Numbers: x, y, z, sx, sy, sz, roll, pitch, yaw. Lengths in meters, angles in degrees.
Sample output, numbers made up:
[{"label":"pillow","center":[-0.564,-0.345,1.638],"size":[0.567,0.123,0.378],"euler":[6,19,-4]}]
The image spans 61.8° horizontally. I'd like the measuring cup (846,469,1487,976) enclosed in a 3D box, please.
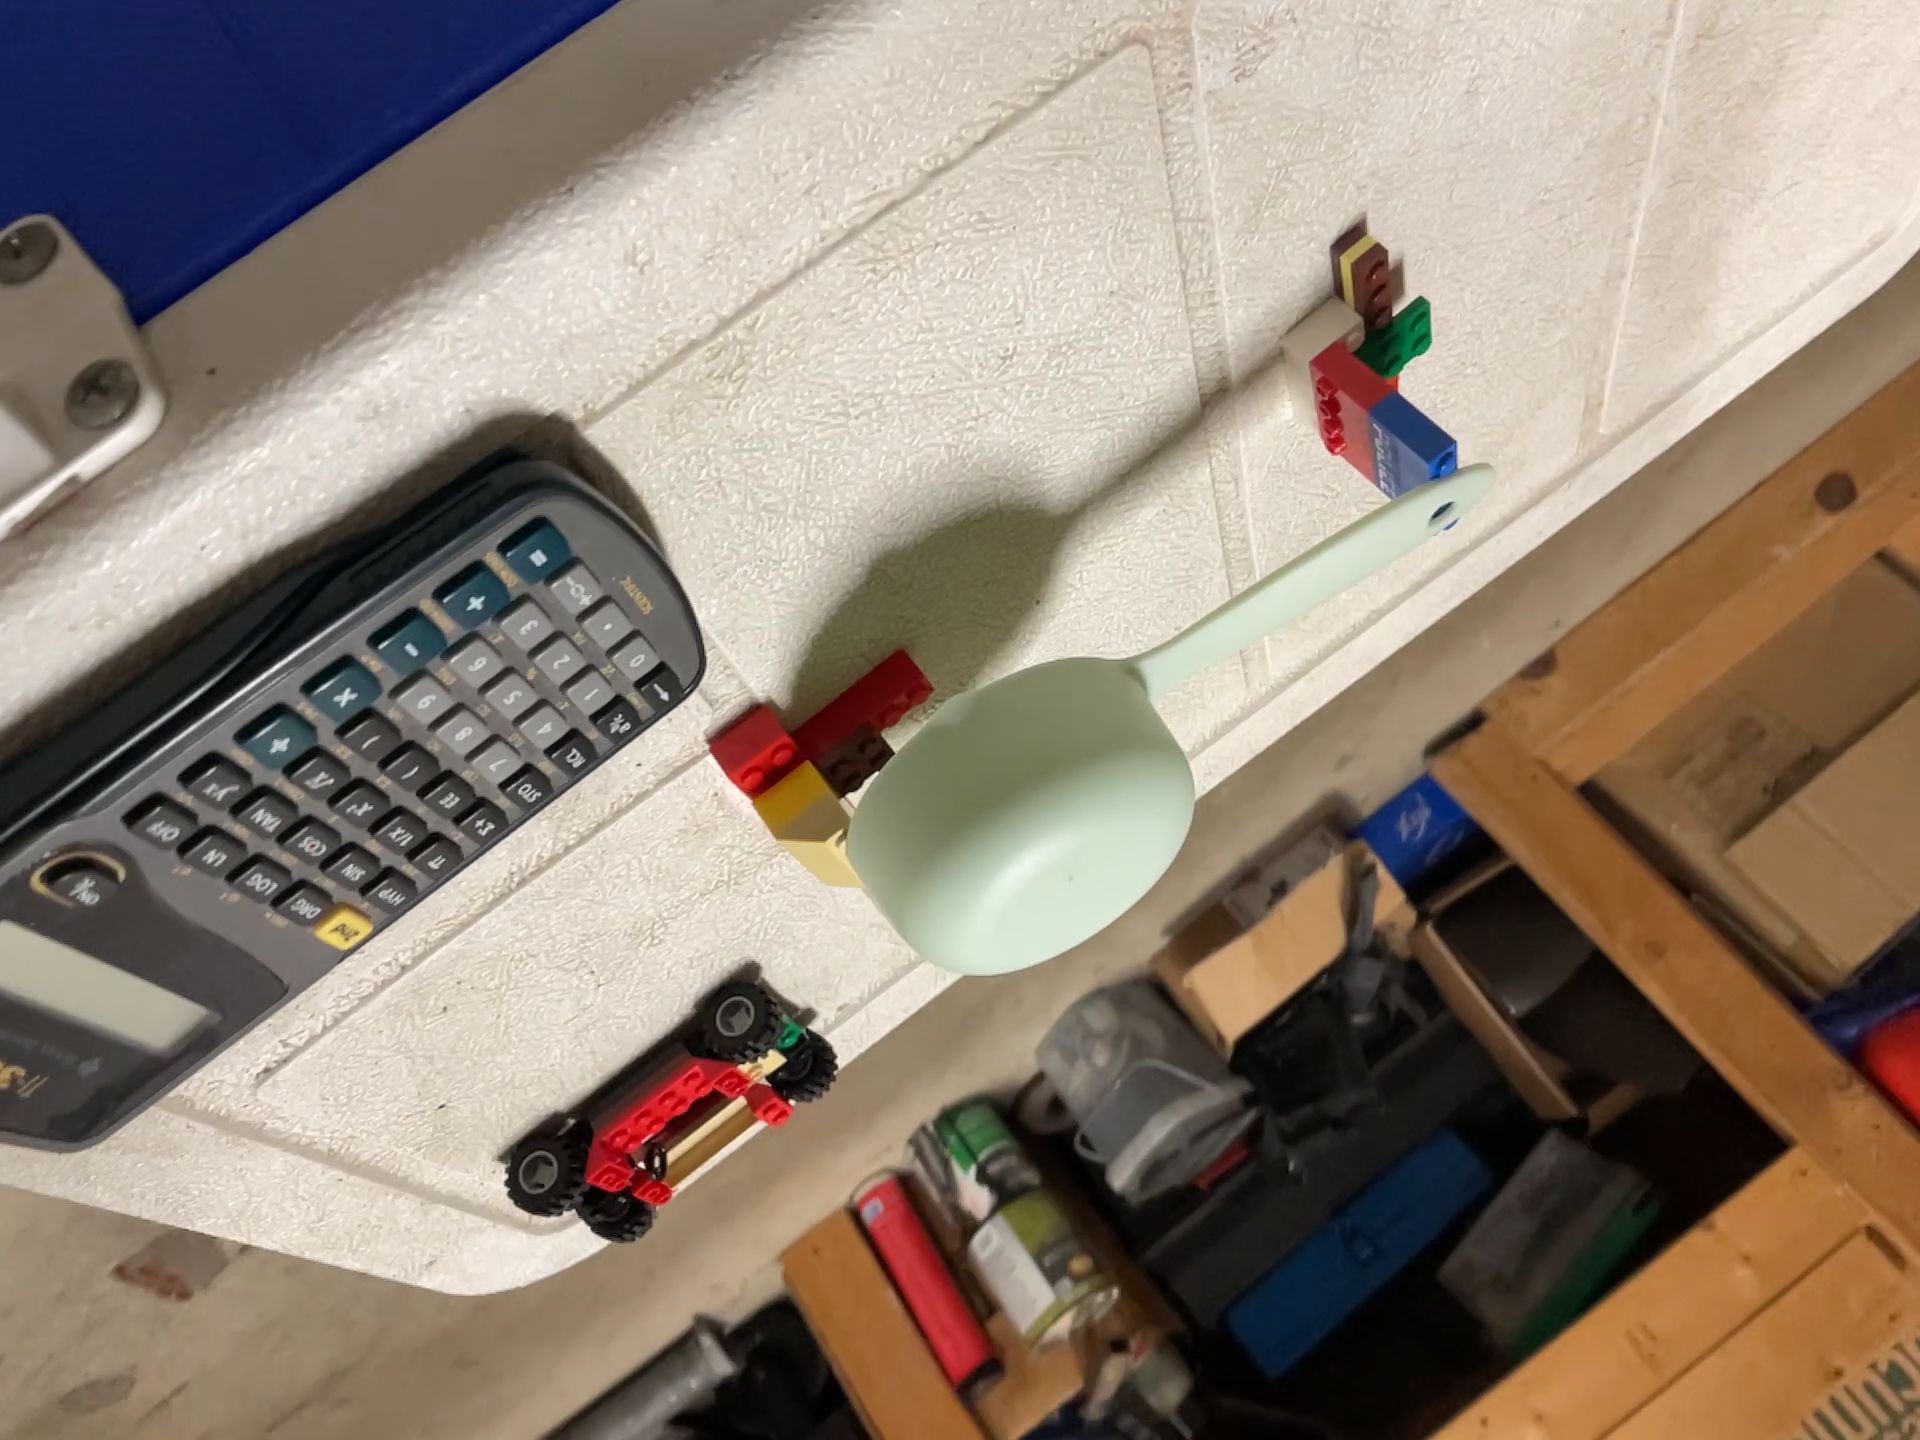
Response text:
[{"label":"measuring cup","center":[0.055,0.001,0.355],"size":[0.167,0.038,0.083],"euler":[-32,151,0]}]
